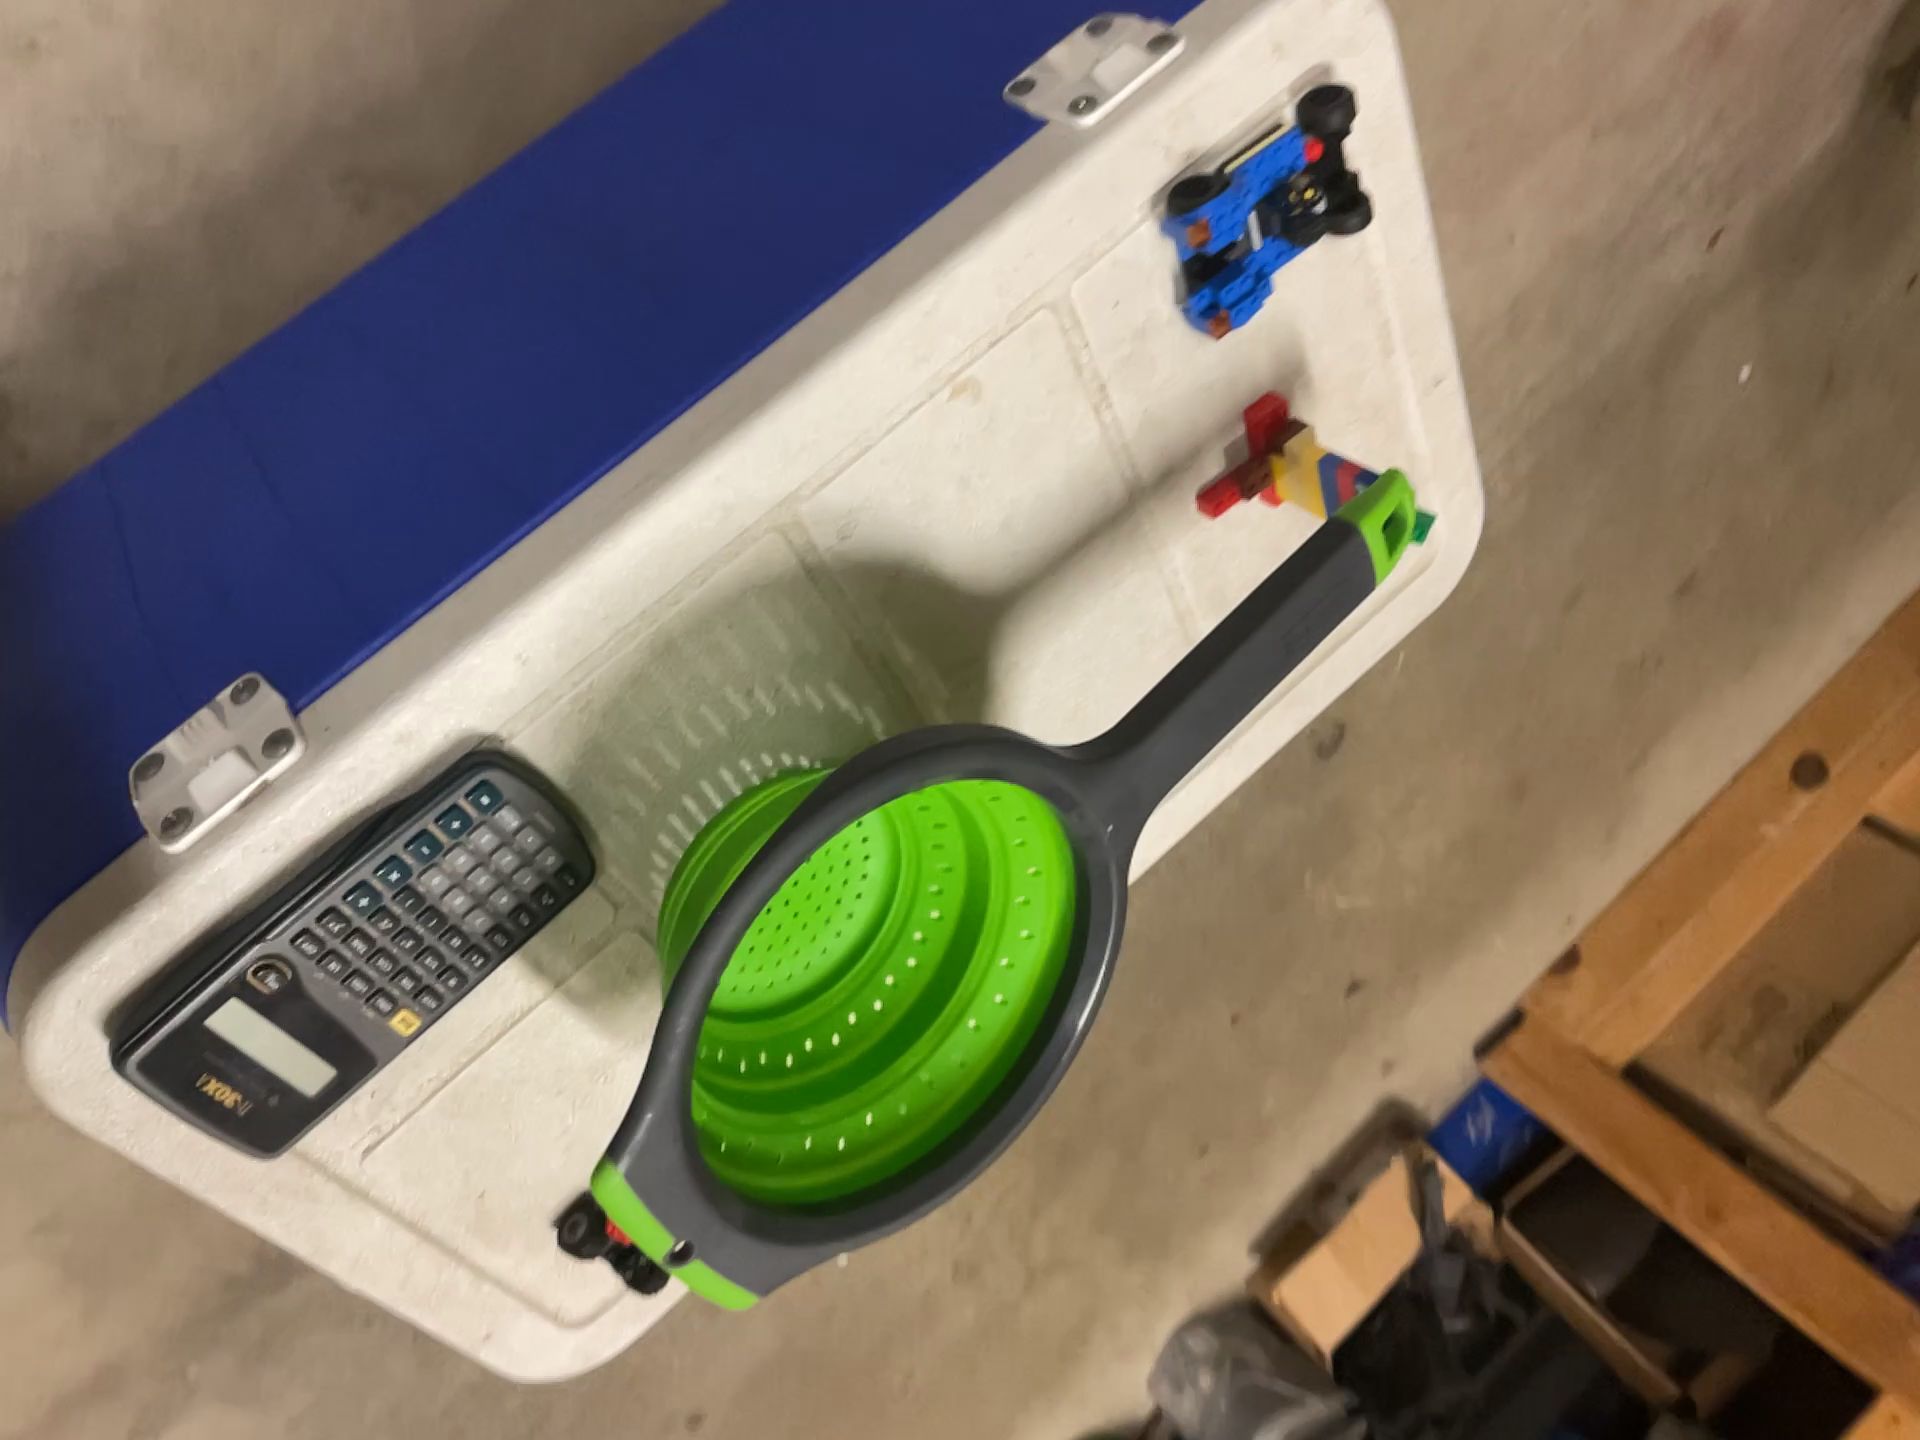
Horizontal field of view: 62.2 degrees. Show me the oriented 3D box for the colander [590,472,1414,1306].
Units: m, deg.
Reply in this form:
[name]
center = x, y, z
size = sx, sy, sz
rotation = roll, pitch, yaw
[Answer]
[colander]
center = 0.016, 0.030, 0.604
size = 0.397, 0.095, 0.204
rotation = -43, 133, -15
